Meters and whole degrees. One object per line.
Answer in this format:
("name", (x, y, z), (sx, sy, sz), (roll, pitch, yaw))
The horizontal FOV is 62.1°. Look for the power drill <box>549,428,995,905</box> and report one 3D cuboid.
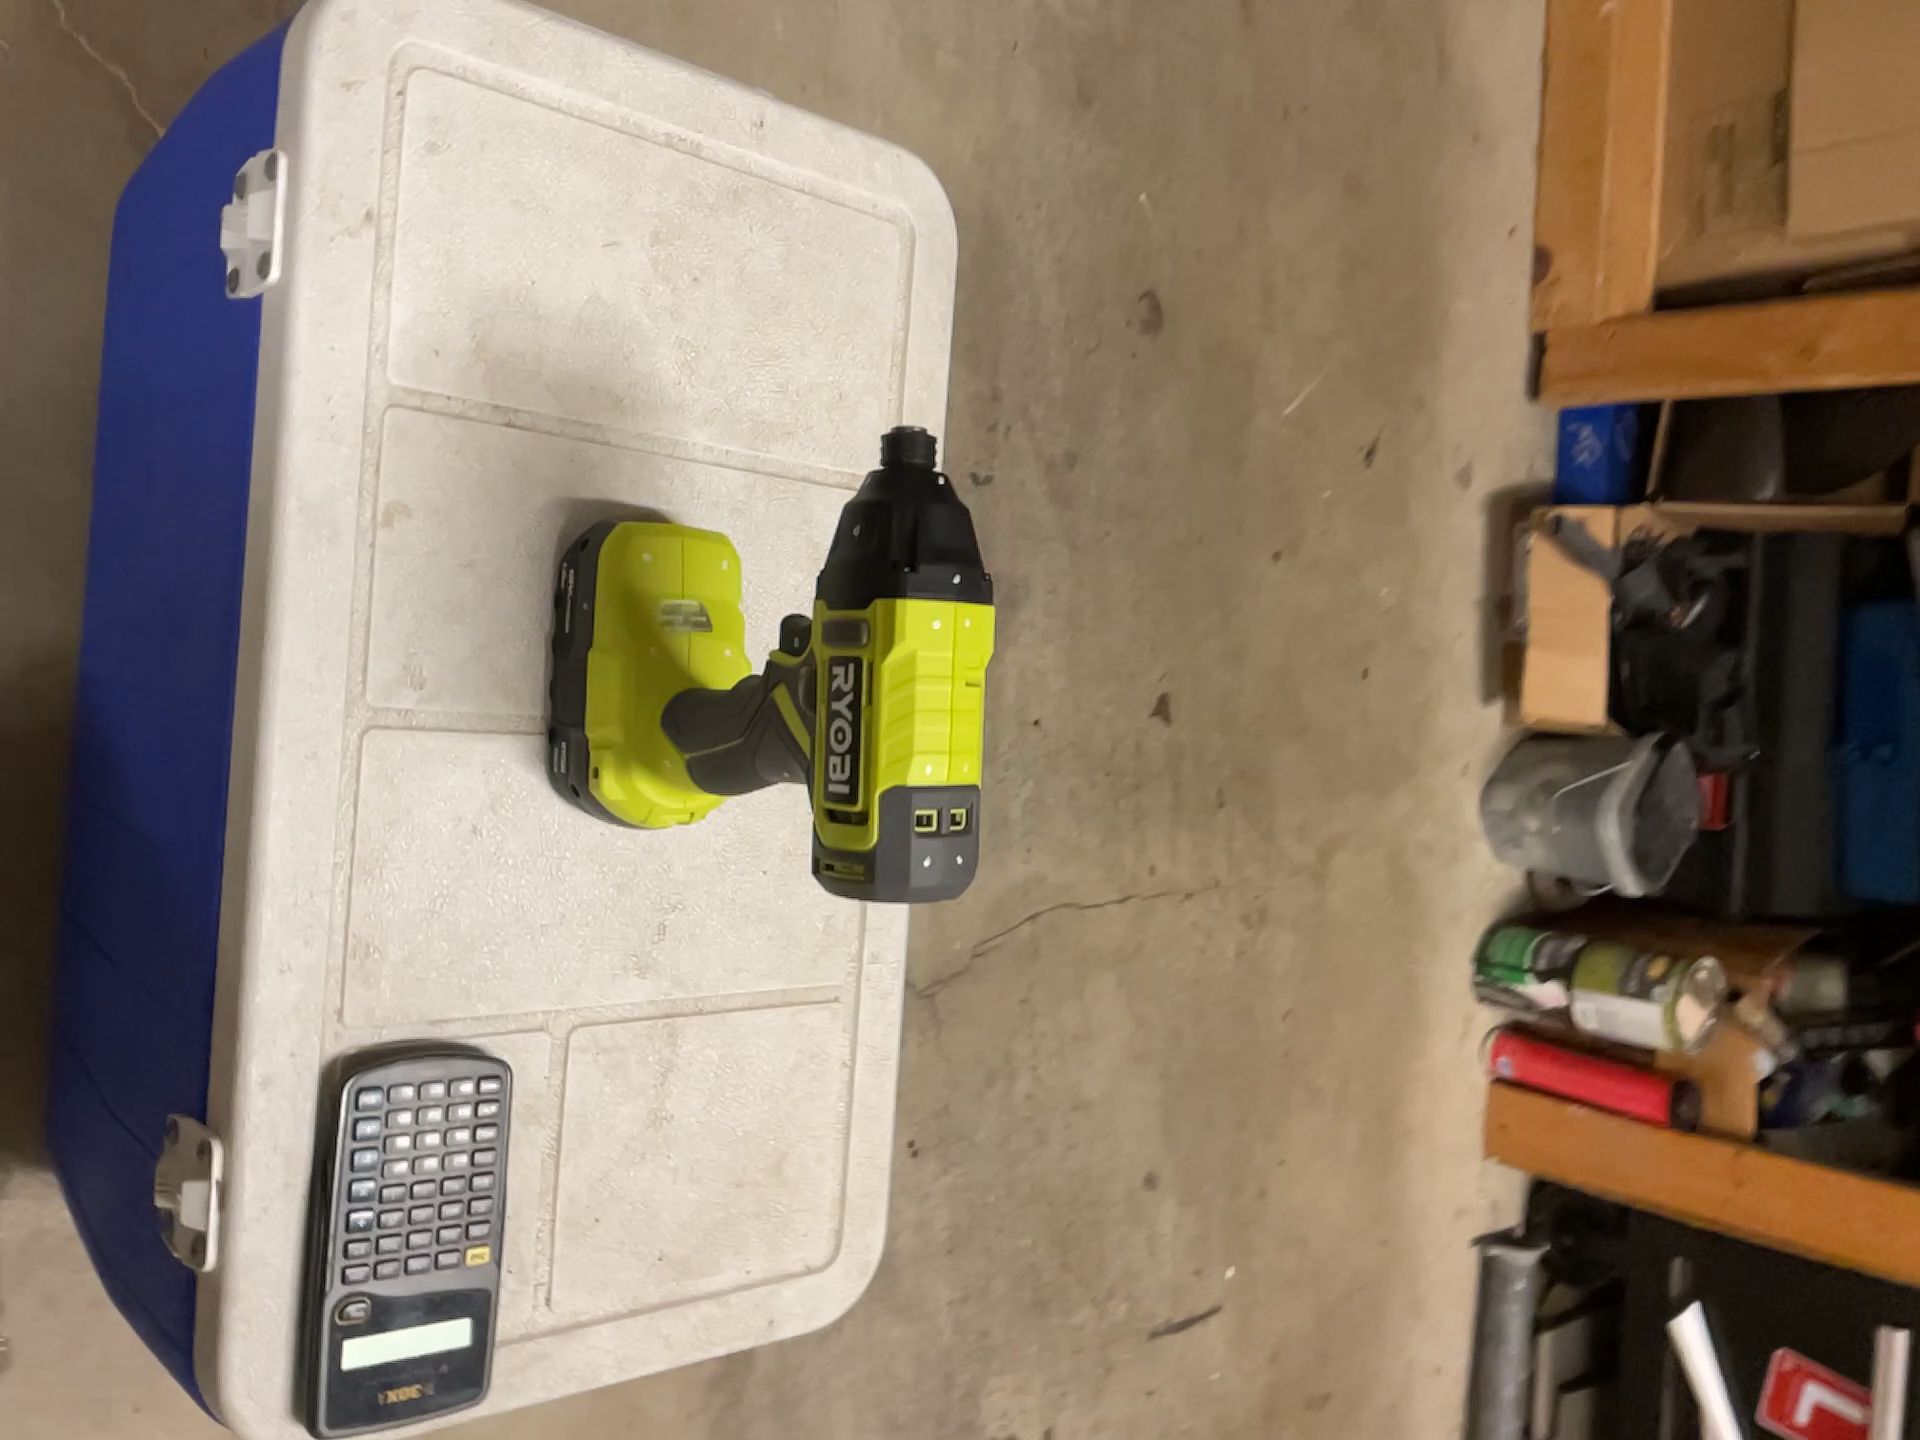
("power drill", (-0.077, -0.024, 0.647), (0.080, 0.223, 0.171), (1, 92, -43))
